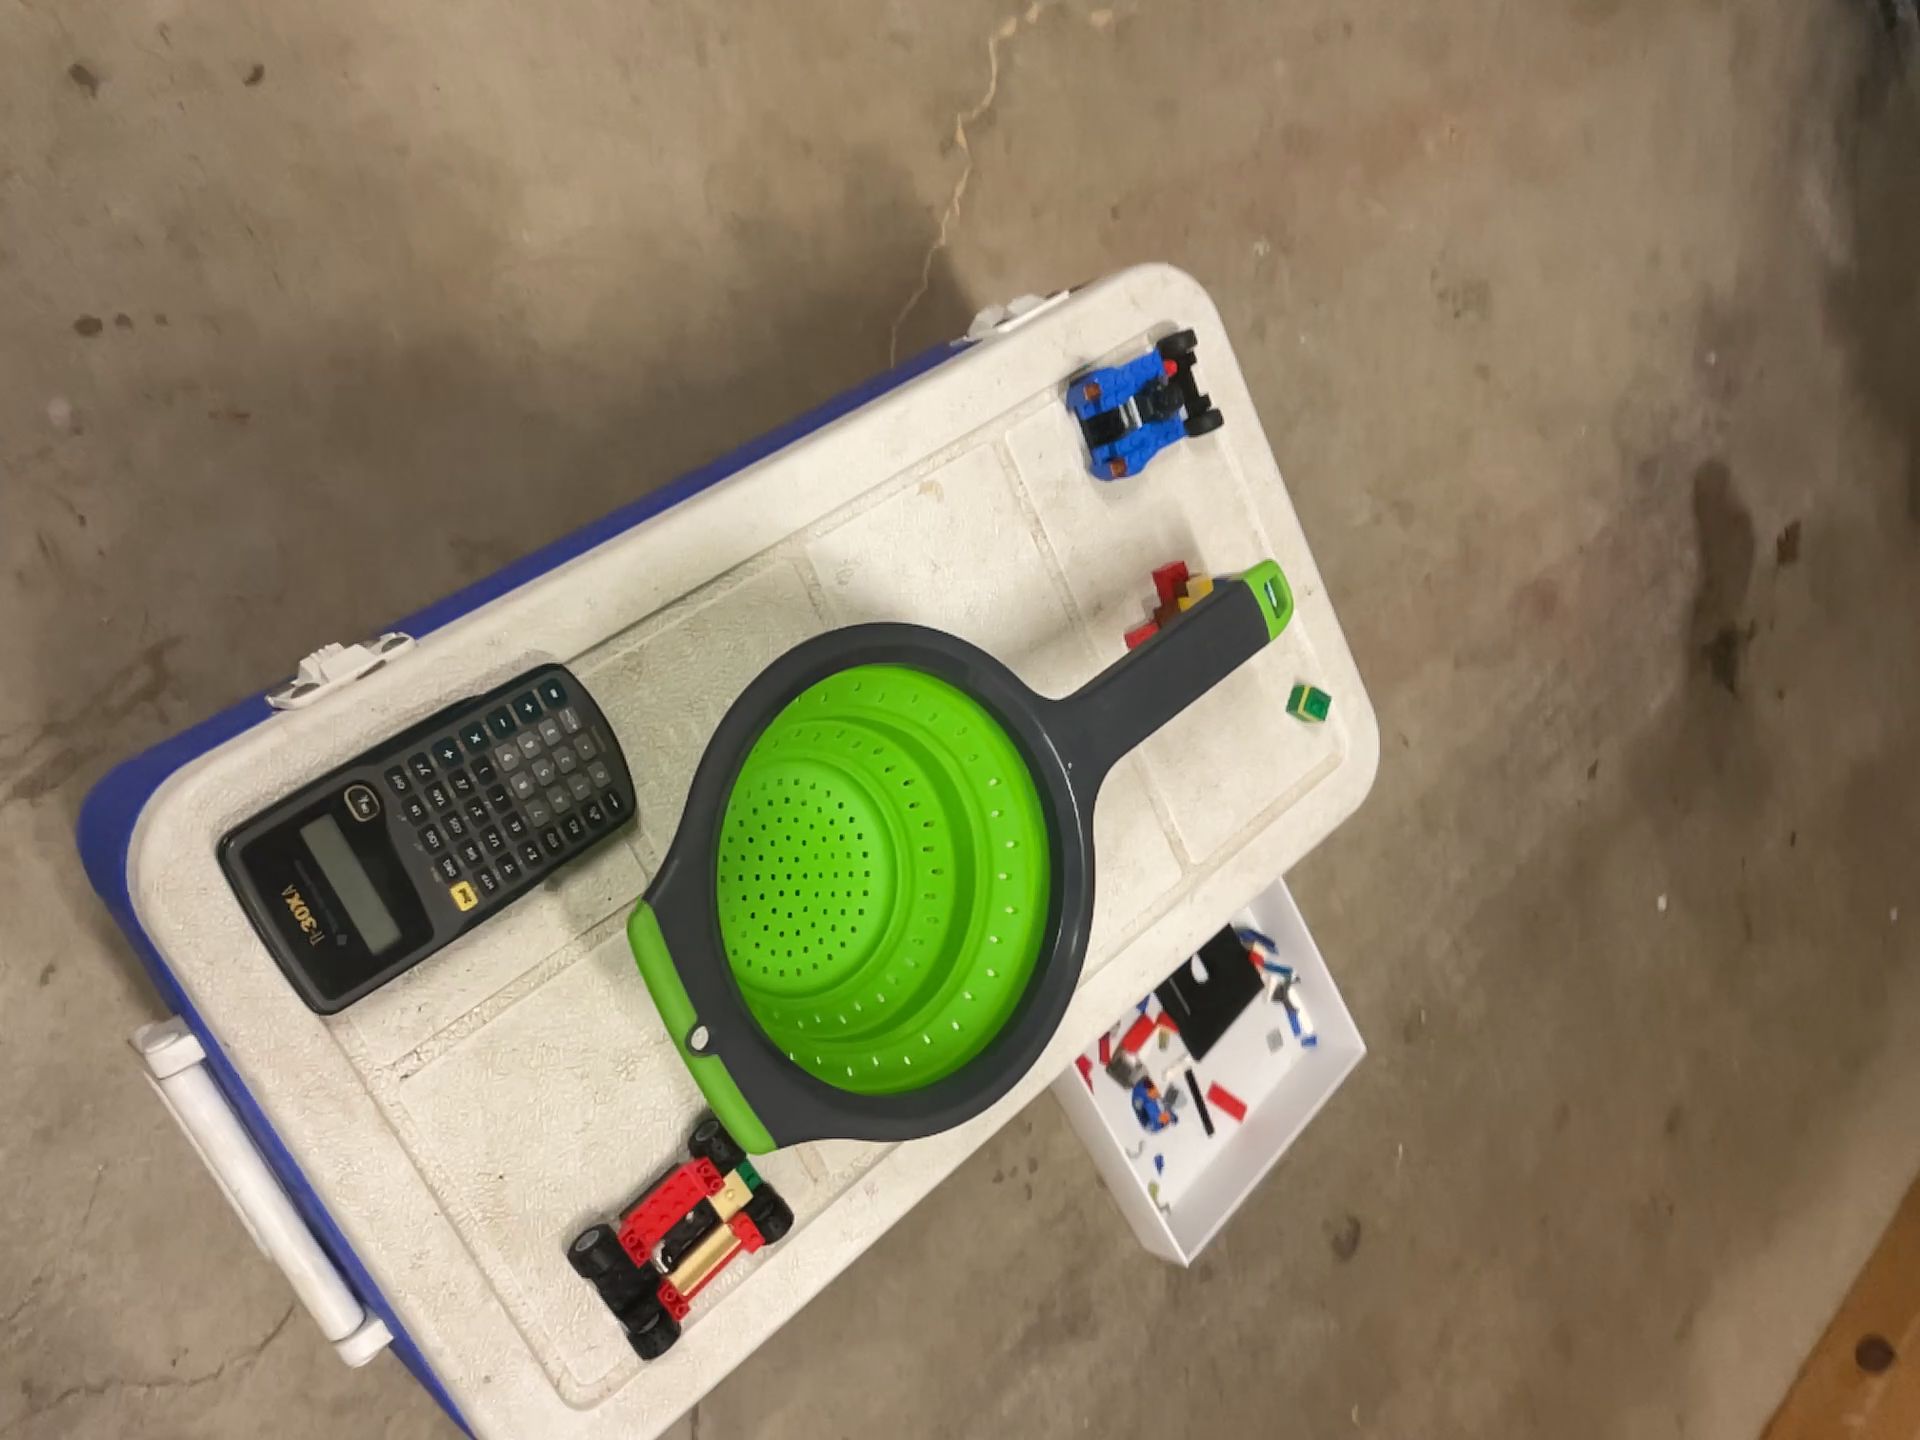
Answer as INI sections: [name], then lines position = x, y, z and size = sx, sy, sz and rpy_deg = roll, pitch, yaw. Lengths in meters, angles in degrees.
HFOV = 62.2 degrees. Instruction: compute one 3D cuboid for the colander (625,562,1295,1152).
[colander]
position = 0.009, 0.028, 0.711
size = 0.398, 0.094, 0.204
rpy_deg = -35, 105, -36
